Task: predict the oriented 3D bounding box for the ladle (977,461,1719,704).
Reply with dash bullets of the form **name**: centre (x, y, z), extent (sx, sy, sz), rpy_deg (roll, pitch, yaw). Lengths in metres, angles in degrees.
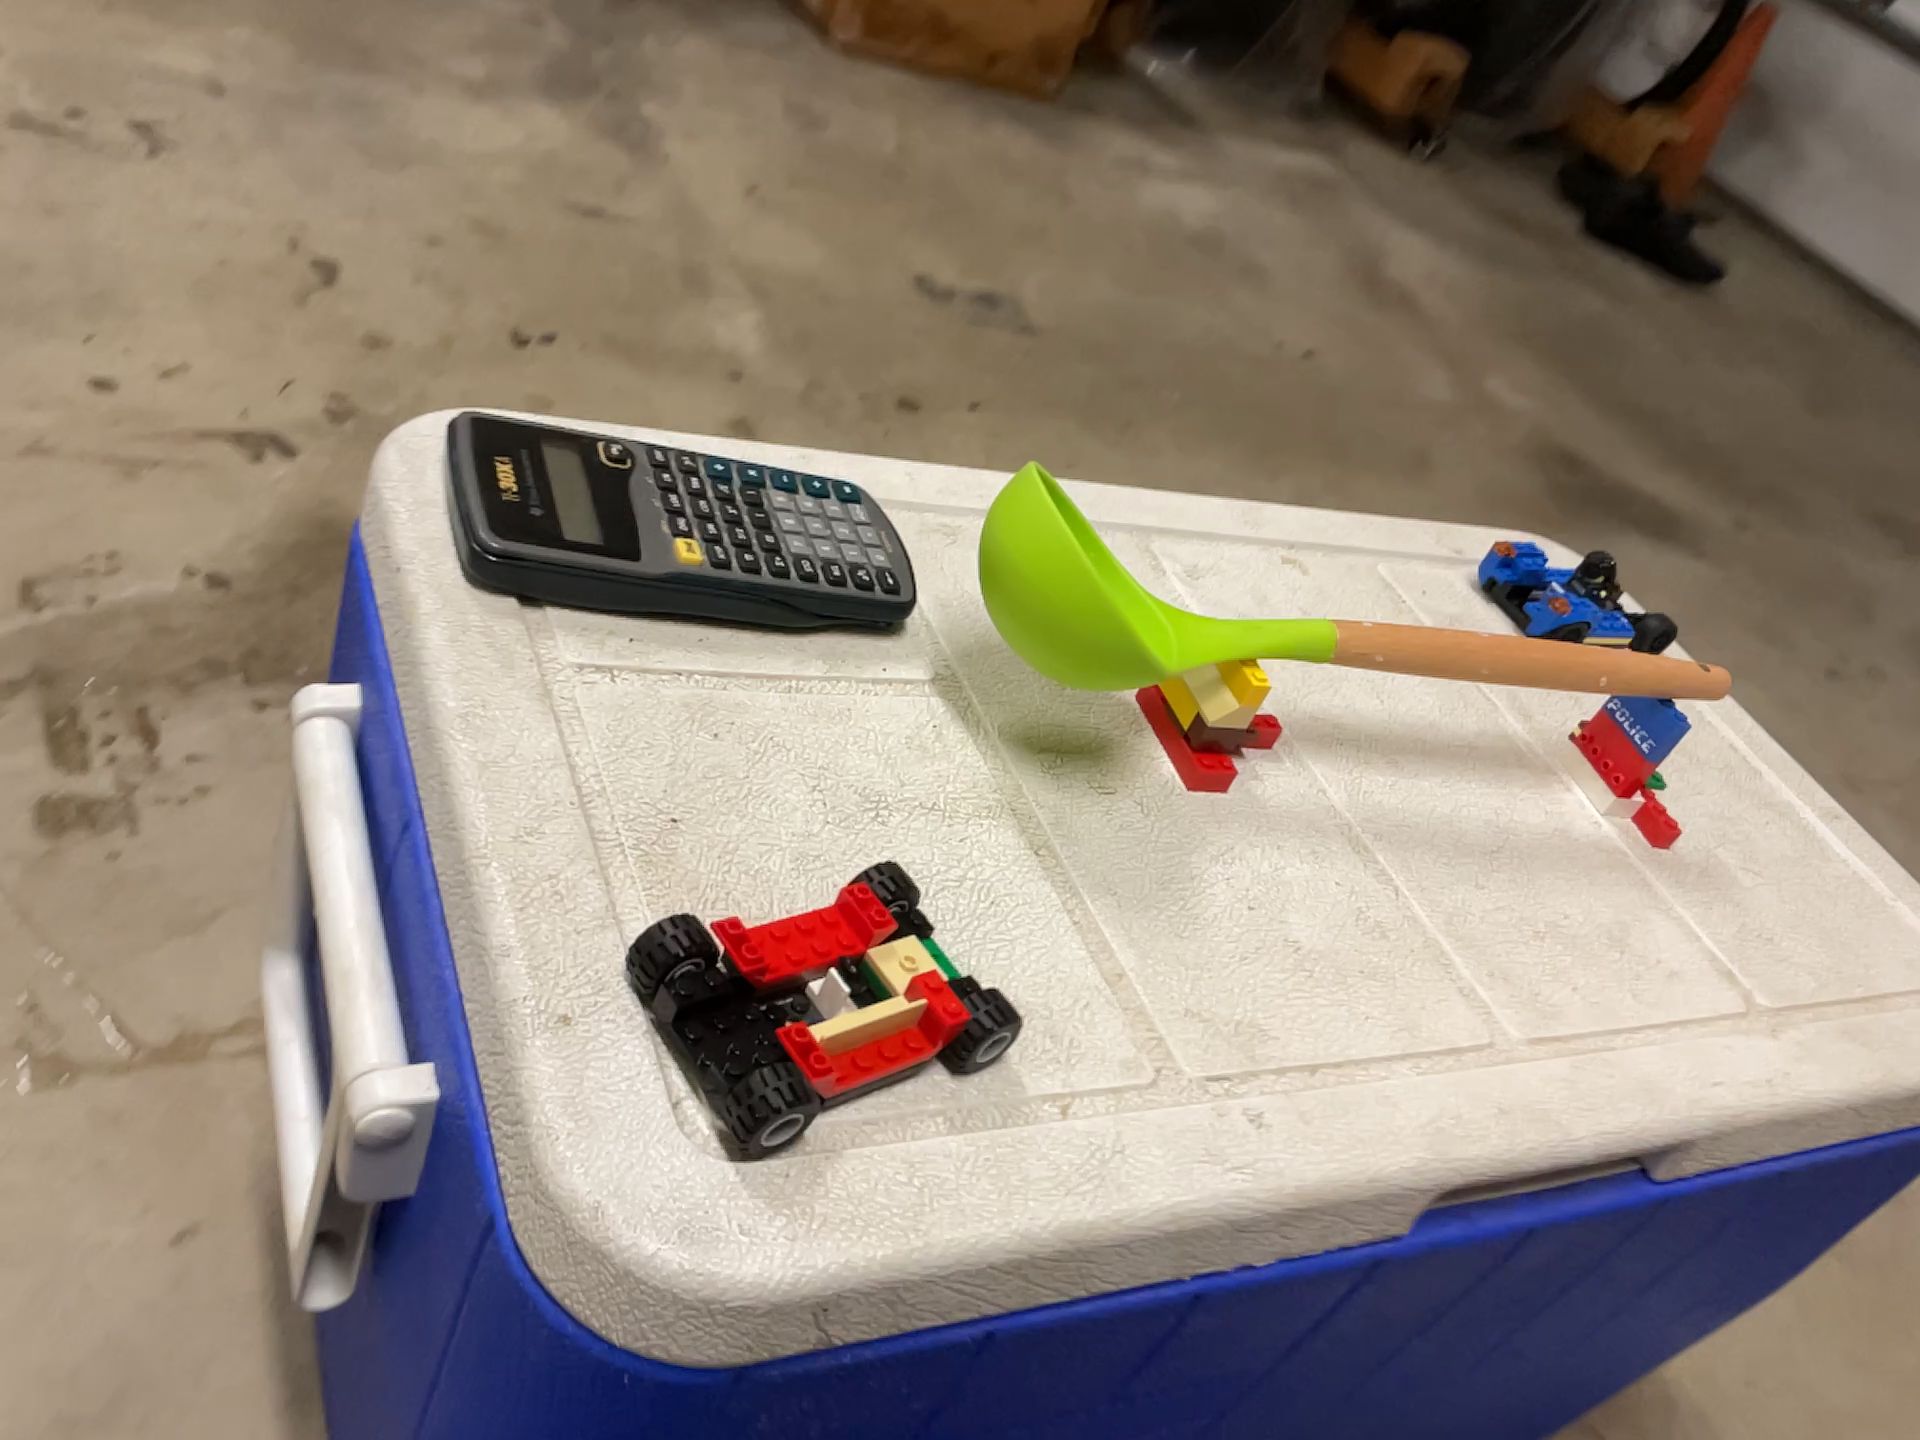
- **ladle**: centre (0.151, -0.034, 0.550), extent (0.320, 0.062, 0.078), rpy_deg (5, 39, -24)
